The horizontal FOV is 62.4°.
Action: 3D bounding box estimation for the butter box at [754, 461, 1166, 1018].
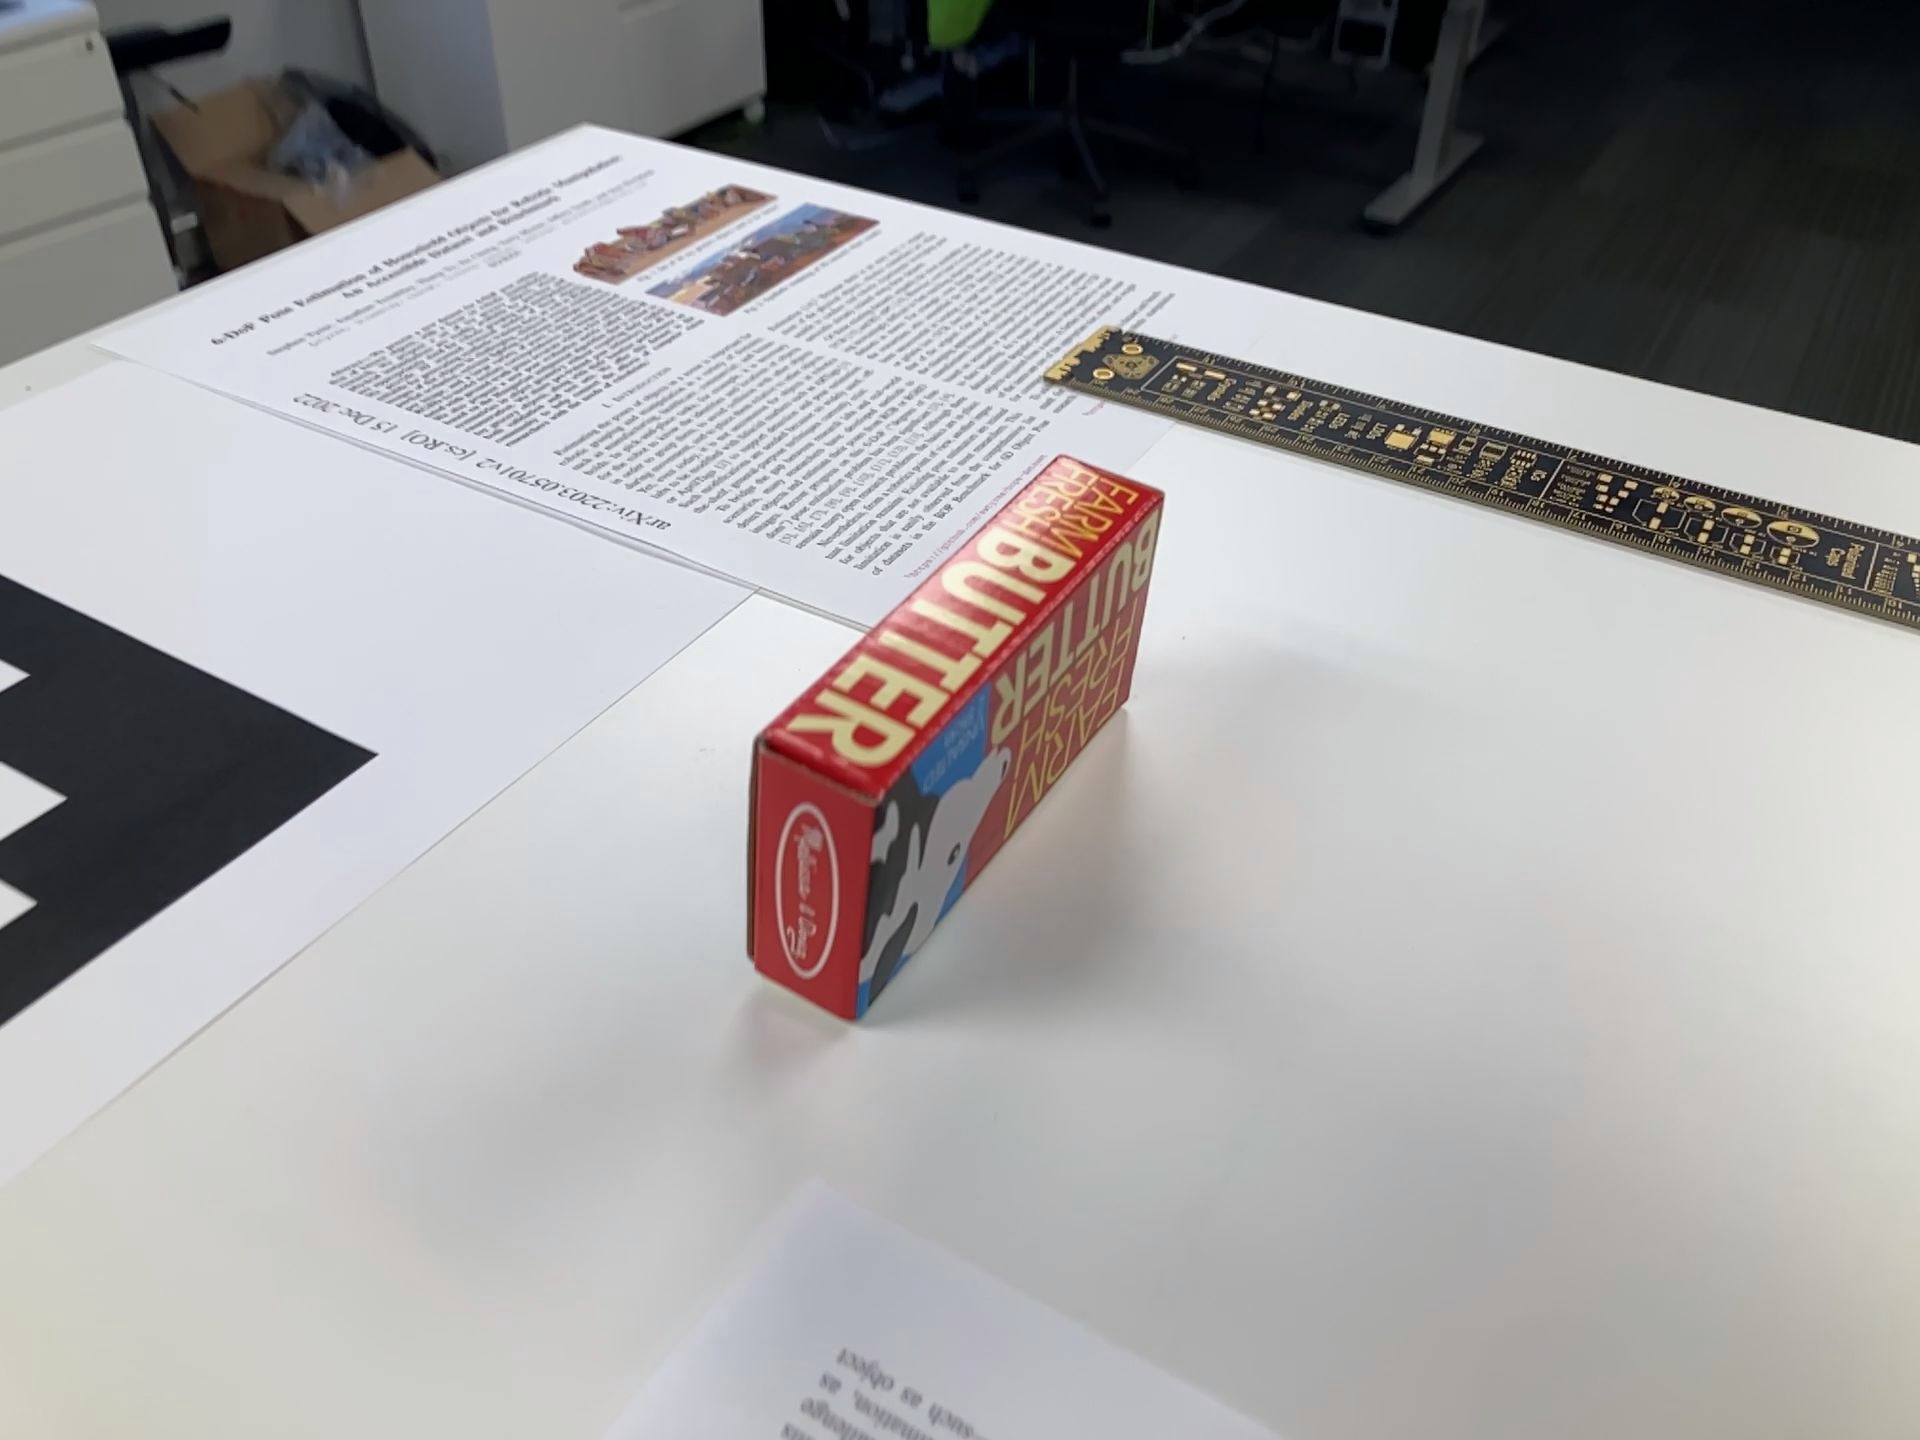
[{"bbox_3d":[0.001,-0.001,0.285,0.024,0.053,0.103,25,44,19],"label":"butter box"}]
